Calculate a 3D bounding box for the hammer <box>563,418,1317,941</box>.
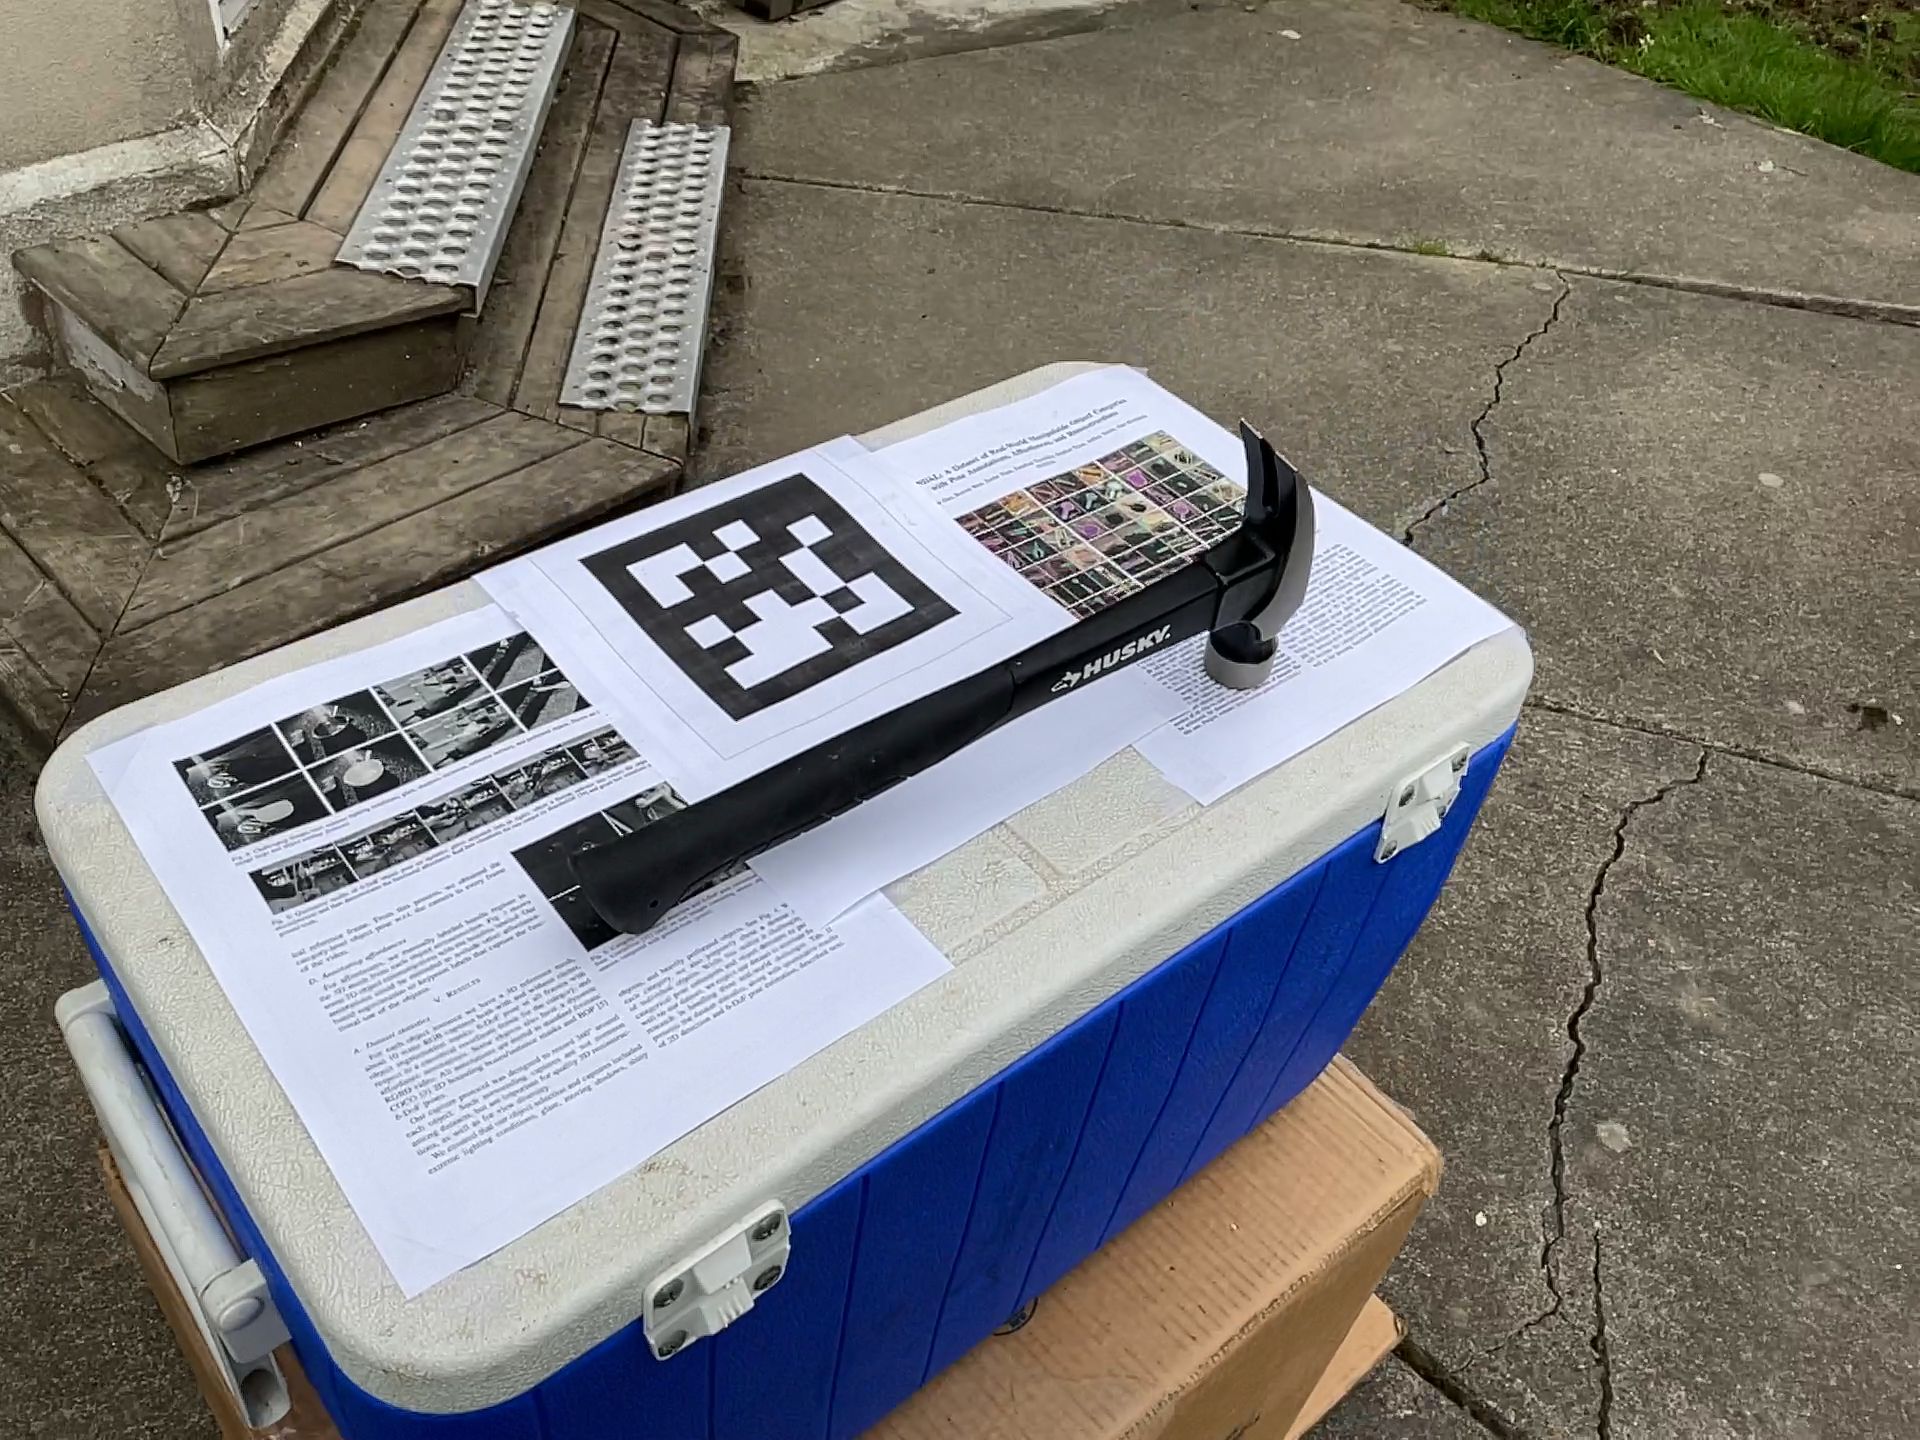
[{"bbox_3d":[0.004,-0.006,0.625,0.334,0.146,0.035,-26,58,-20],"label":"hammer"}]
